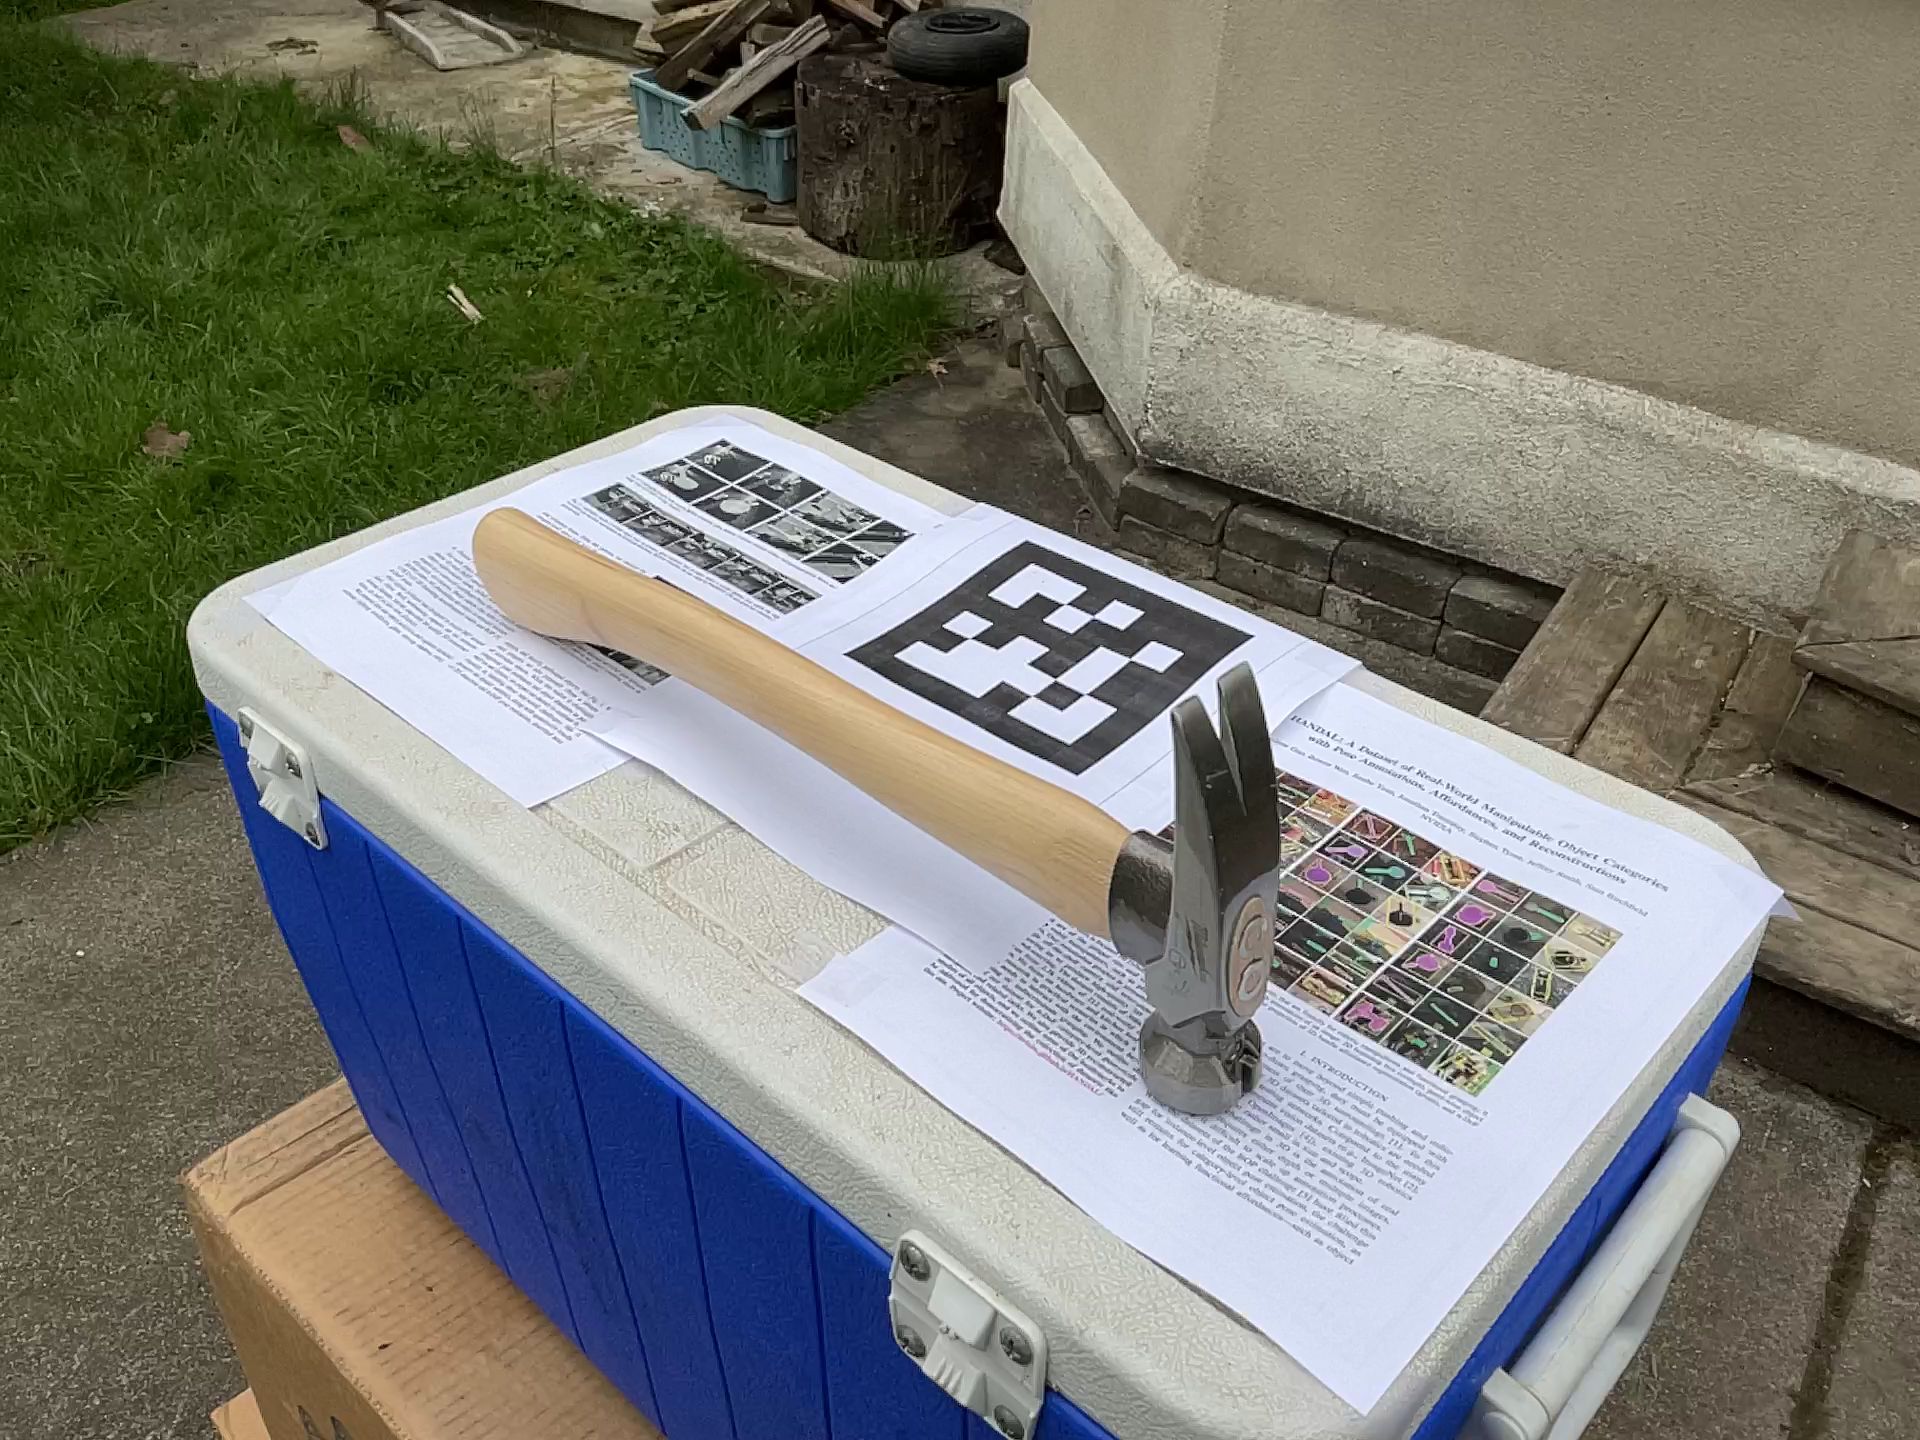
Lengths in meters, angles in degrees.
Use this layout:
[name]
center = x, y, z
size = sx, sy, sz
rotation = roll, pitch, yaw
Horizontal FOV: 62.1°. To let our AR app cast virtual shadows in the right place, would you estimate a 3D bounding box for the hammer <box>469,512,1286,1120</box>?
[hammer]
center = -0.061, -0.014, 0.573
size = 0.411, 0.146, 0.038
rotation = 26, 43, 38
